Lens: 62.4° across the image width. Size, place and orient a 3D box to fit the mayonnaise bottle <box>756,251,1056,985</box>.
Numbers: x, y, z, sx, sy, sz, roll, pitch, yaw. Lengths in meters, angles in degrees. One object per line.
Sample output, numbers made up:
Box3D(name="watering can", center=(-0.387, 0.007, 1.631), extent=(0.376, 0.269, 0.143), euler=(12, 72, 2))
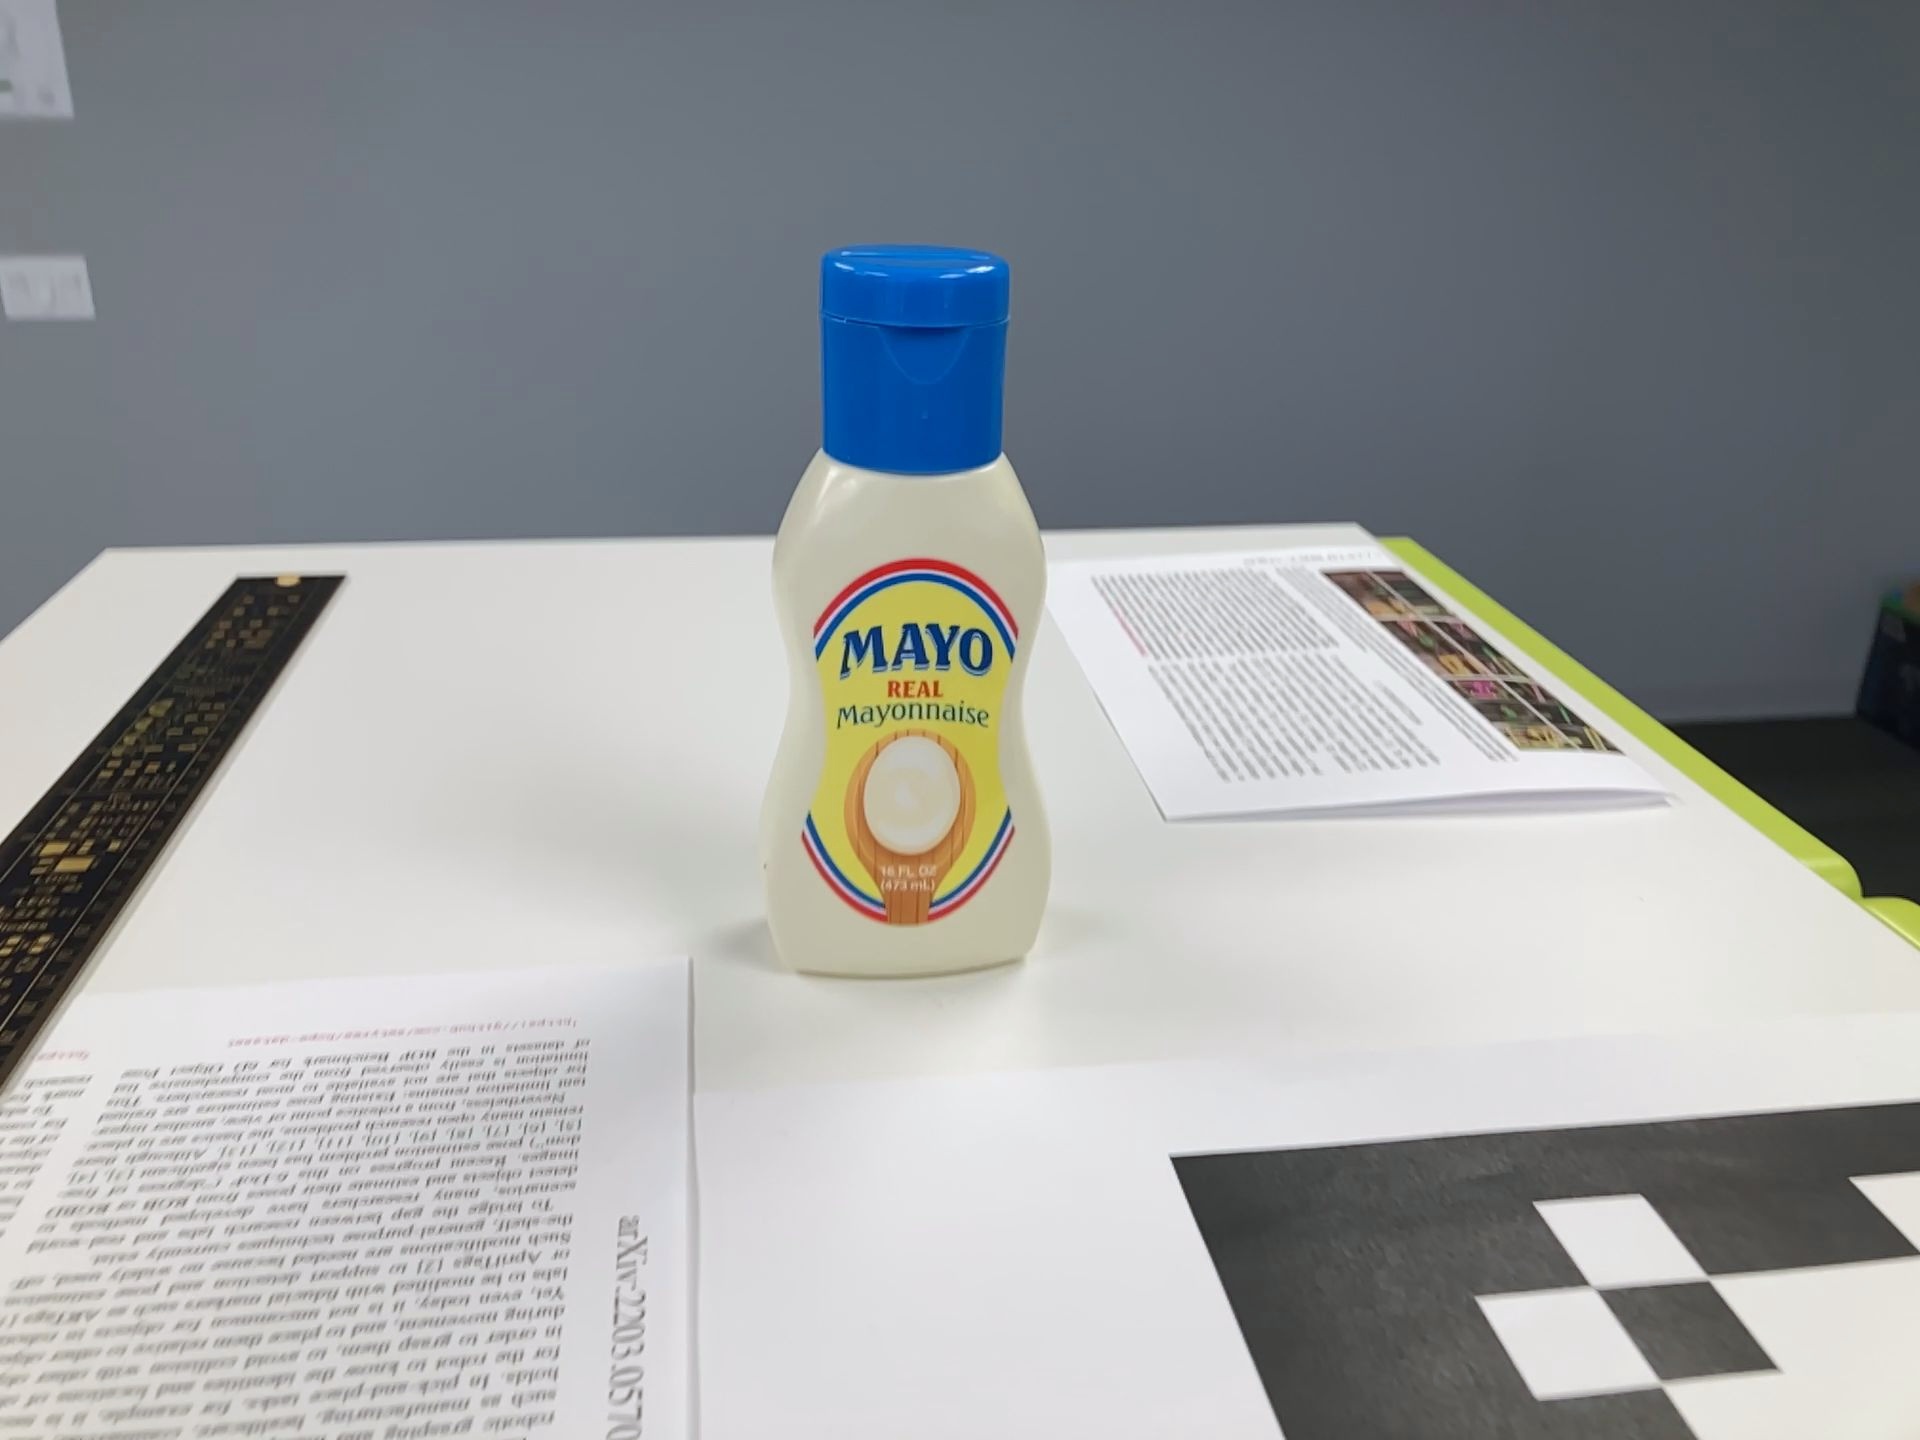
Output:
Box3D(name="mayonnaise bottle", center=(-0.011, -0.018, 0.326), extent=(0.065, 0.148, 0.041), euler=(-2, 24, -8))
